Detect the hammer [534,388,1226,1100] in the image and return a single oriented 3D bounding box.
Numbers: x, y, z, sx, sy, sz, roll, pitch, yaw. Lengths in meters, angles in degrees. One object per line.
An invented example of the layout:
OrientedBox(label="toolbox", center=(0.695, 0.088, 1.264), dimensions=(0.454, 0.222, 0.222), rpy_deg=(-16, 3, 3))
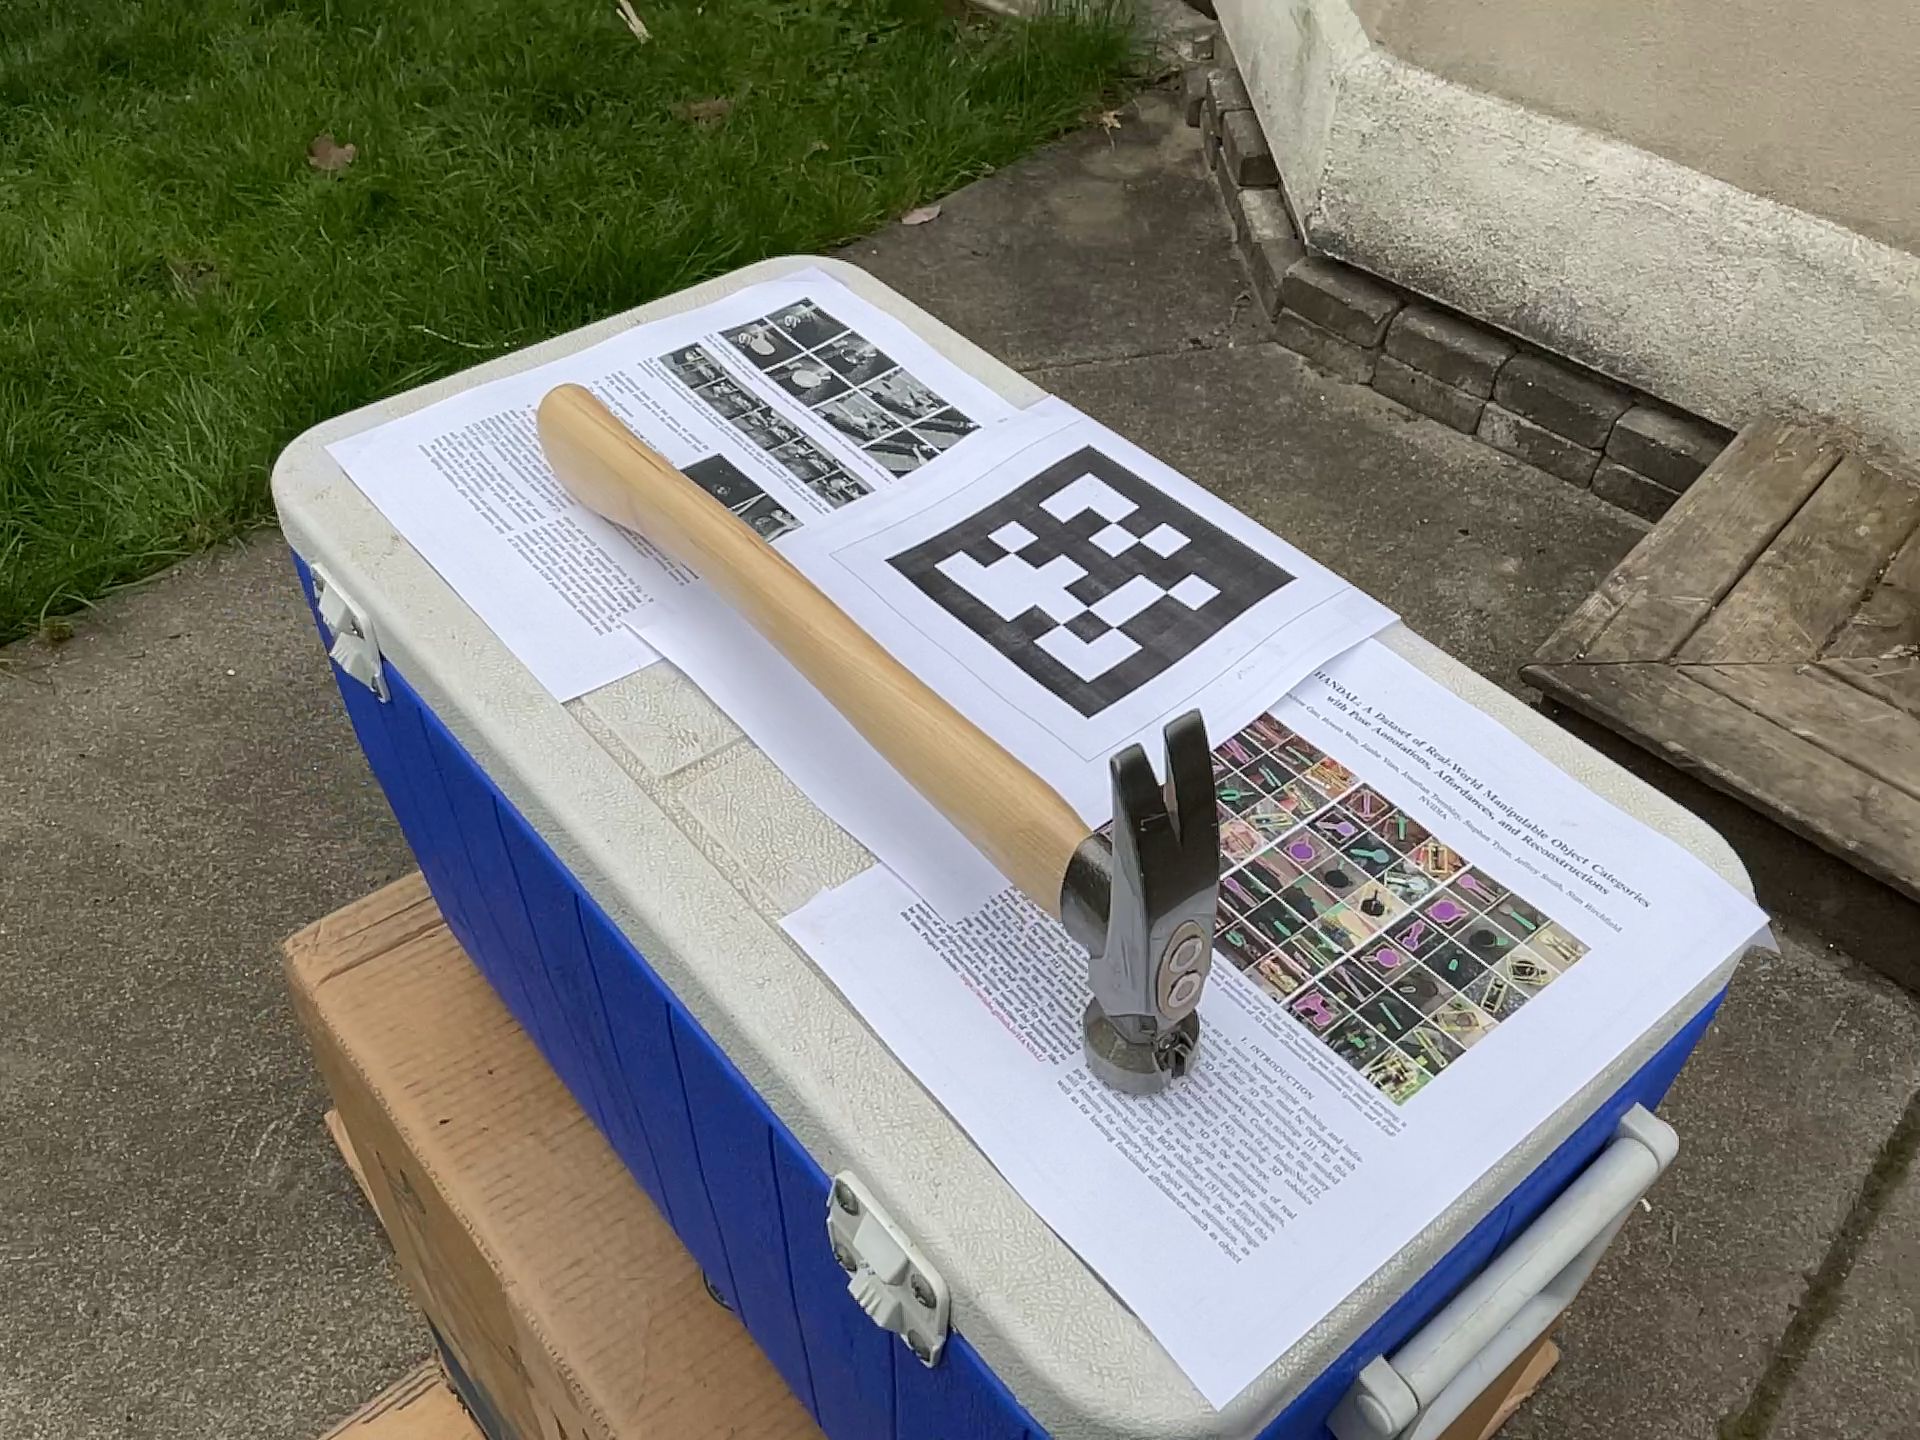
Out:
OrientedBox(label="hammer", center=(-0.057, -0.039, 0.591), dimensions=(0.038, 0.146, 0.411), rpy_deg=(-29, 48, -25))
